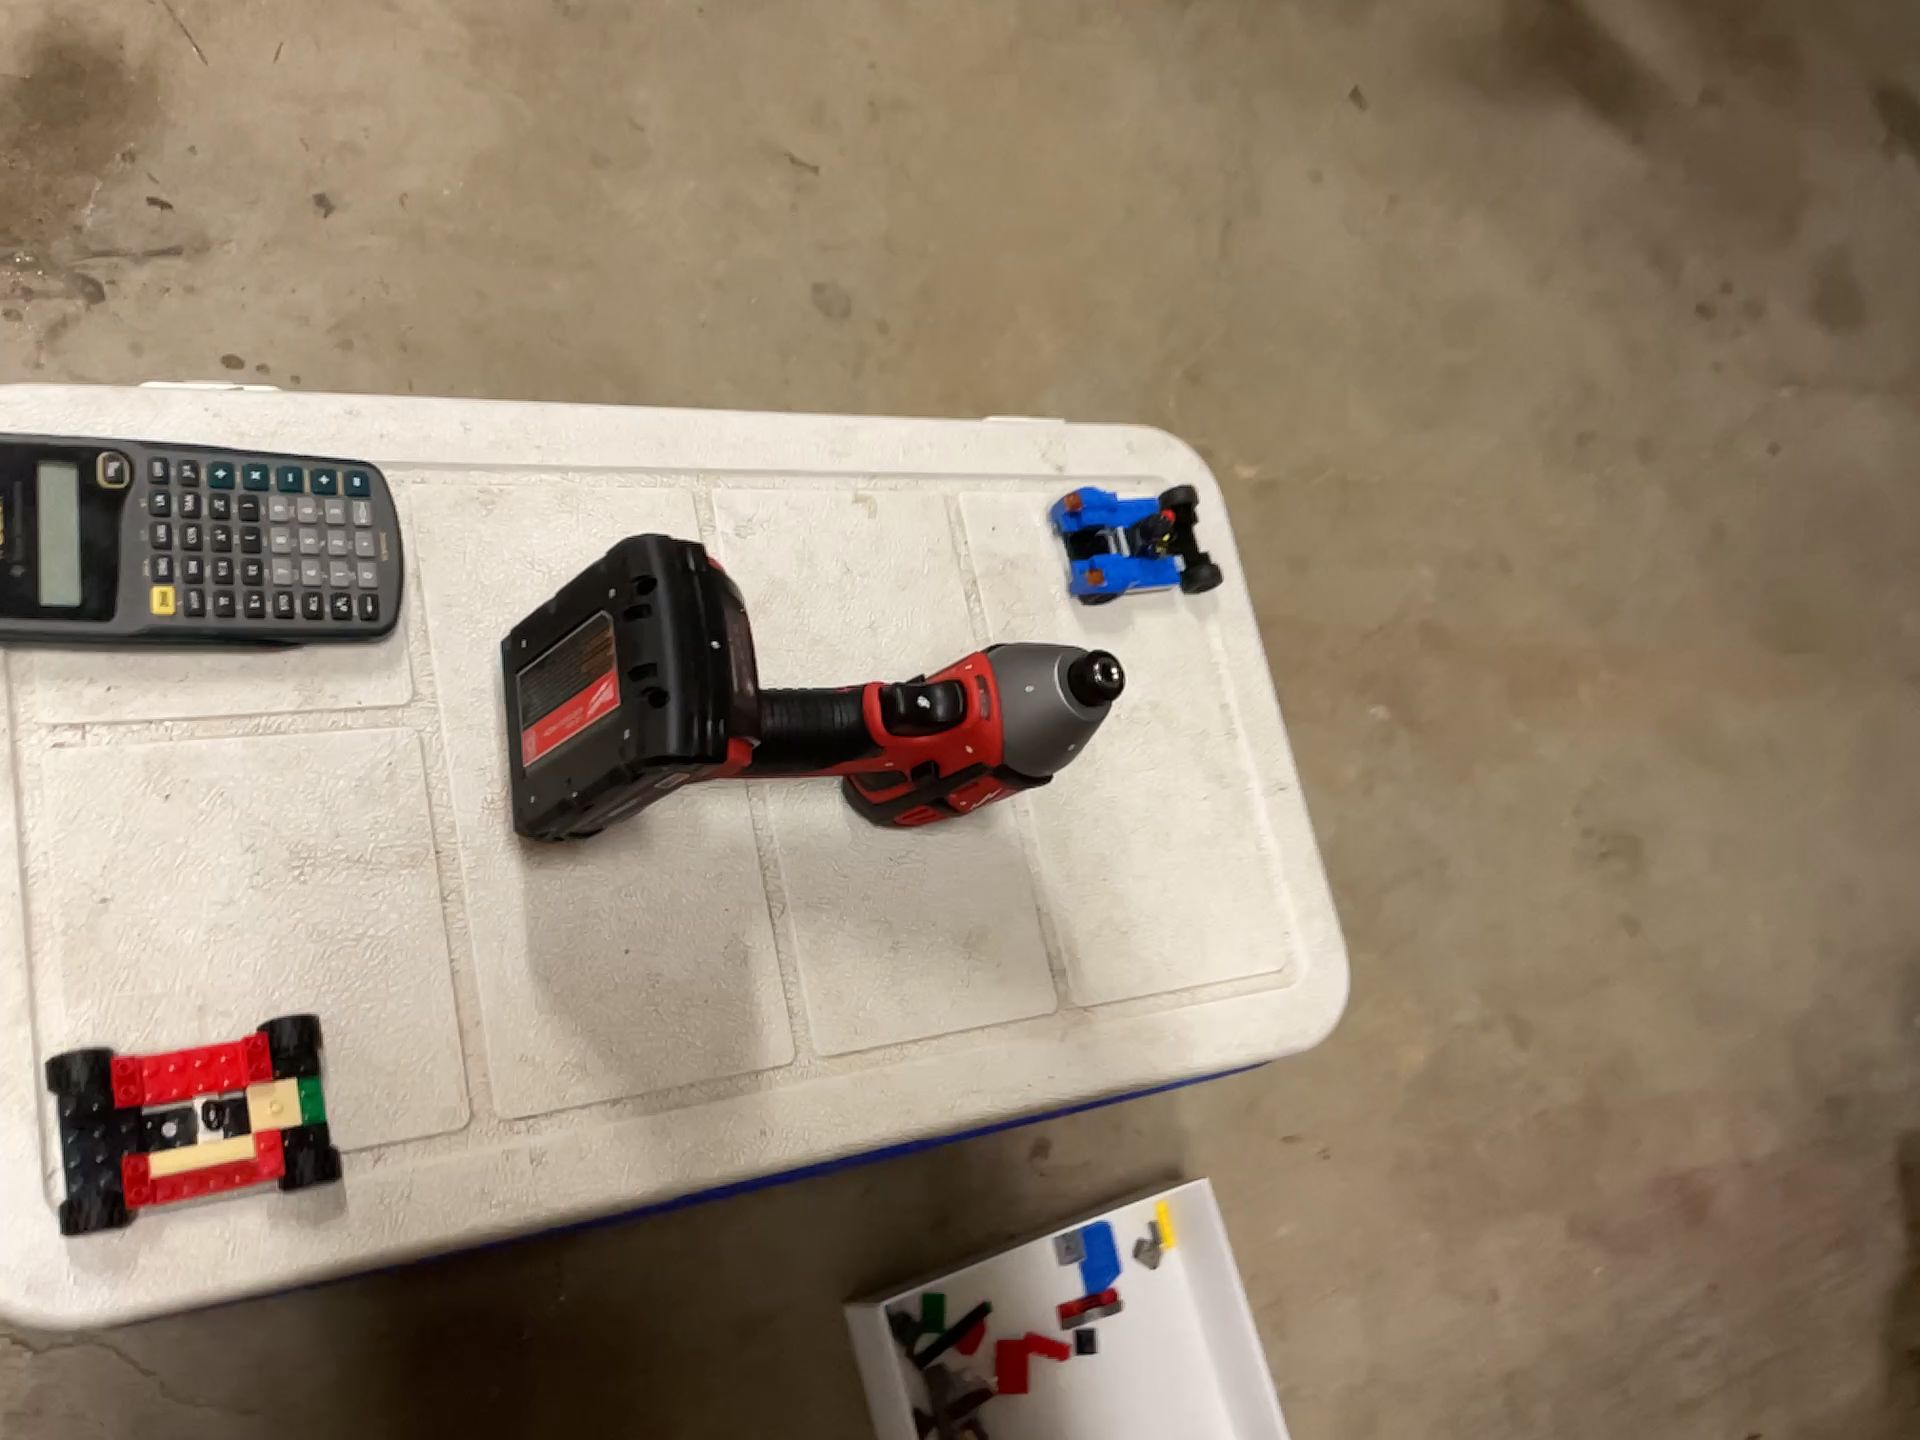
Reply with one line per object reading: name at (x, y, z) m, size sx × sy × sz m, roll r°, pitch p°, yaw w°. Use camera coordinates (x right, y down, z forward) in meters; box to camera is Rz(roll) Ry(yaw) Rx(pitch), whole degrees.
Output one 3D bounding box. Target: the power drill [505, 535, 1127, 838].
power drill at (-0.047, -0.003, 0.611) m, size 0.219 × 0.143 × 0.078 m, roll 6°, pitch 69°, yaw -42°
